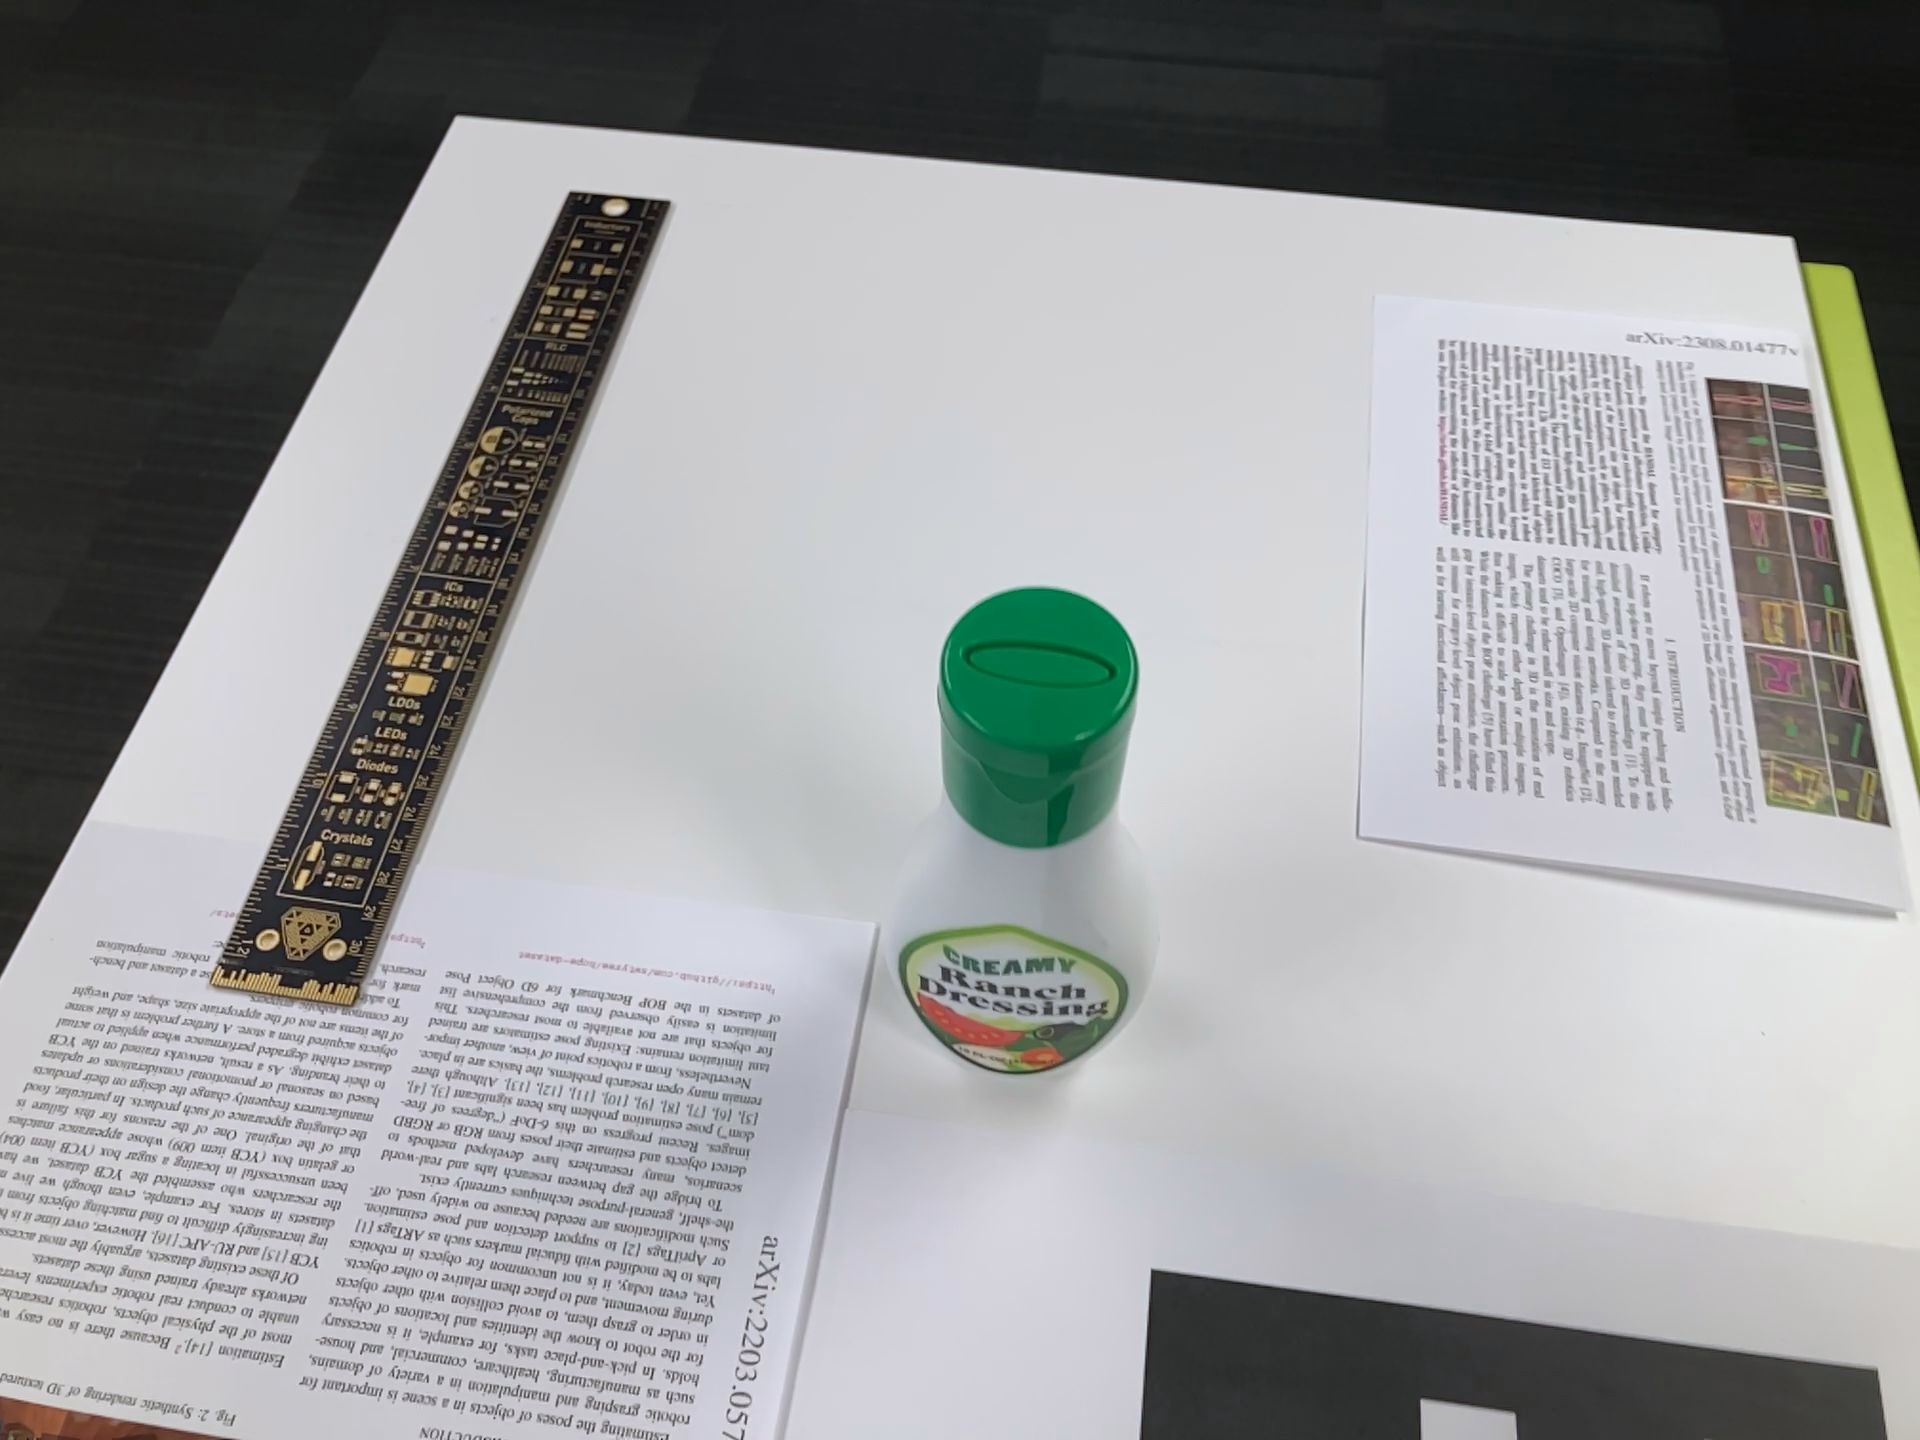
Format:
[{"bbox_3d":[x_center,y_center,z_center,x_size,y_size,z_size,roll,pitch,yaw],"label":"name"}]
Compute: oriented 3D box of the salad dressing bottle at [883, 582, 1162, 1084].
[{"bbox_3d":[0.014,0.030,0.341,0.064,0.147,0.044,7,56,5],"label":"salad dressing bottle"}]
